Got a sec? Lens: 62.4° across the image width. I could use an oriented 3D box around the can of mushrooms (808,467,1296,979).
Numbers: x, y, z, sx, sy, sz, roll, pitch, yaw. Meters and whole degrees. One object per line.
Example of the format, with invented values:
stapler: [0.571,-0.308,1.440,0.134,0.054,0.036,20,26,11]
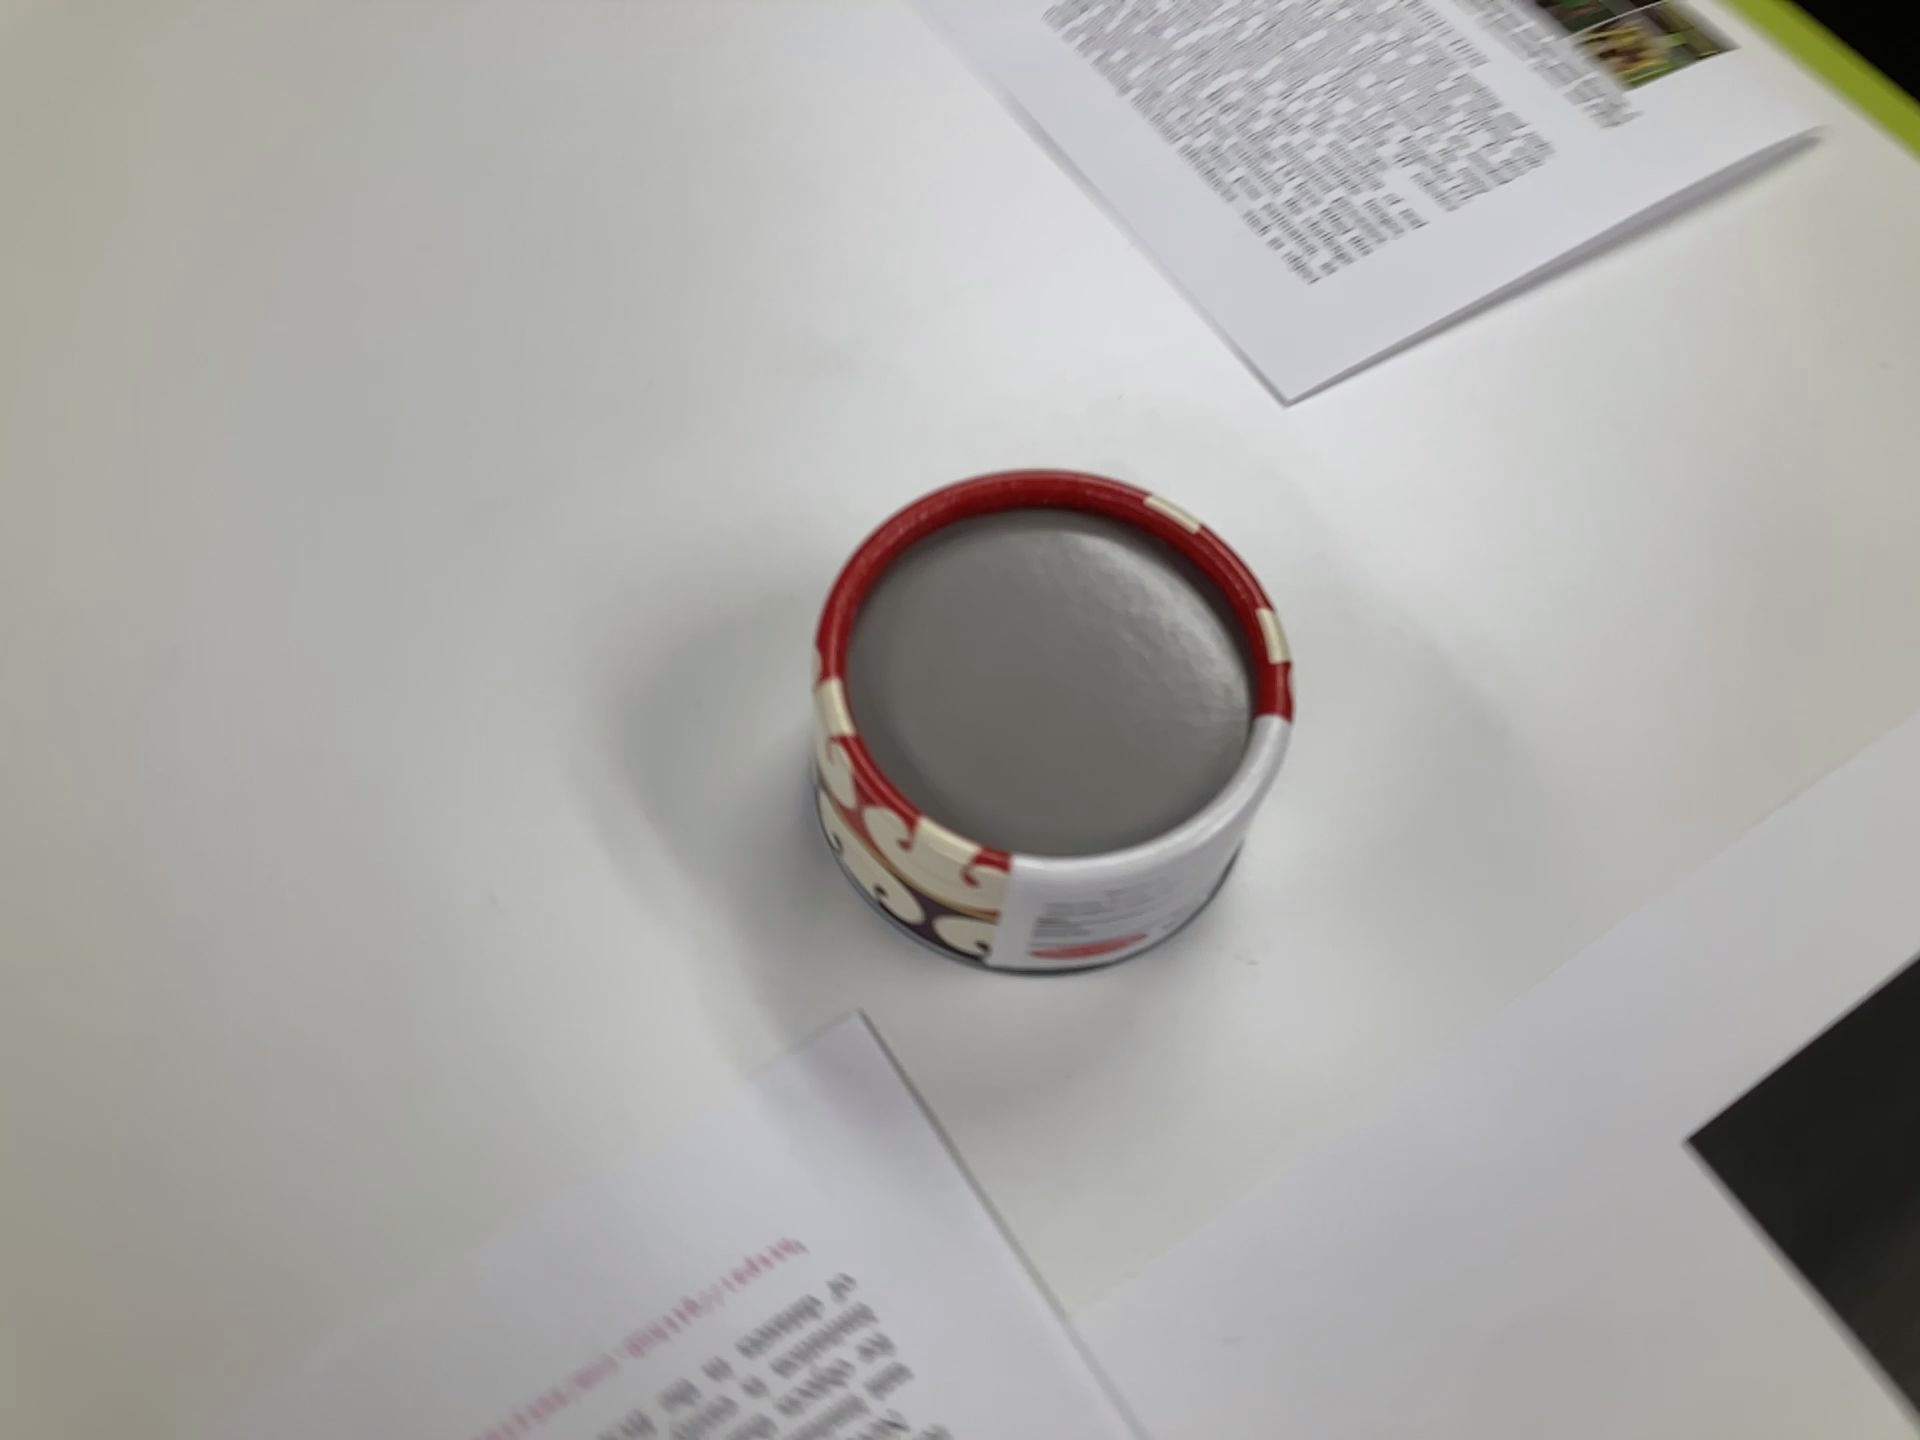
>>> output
can of mushrooms: [0.010,-0.002,0.224,0.071,0.033,0.071,1,61,-3]
